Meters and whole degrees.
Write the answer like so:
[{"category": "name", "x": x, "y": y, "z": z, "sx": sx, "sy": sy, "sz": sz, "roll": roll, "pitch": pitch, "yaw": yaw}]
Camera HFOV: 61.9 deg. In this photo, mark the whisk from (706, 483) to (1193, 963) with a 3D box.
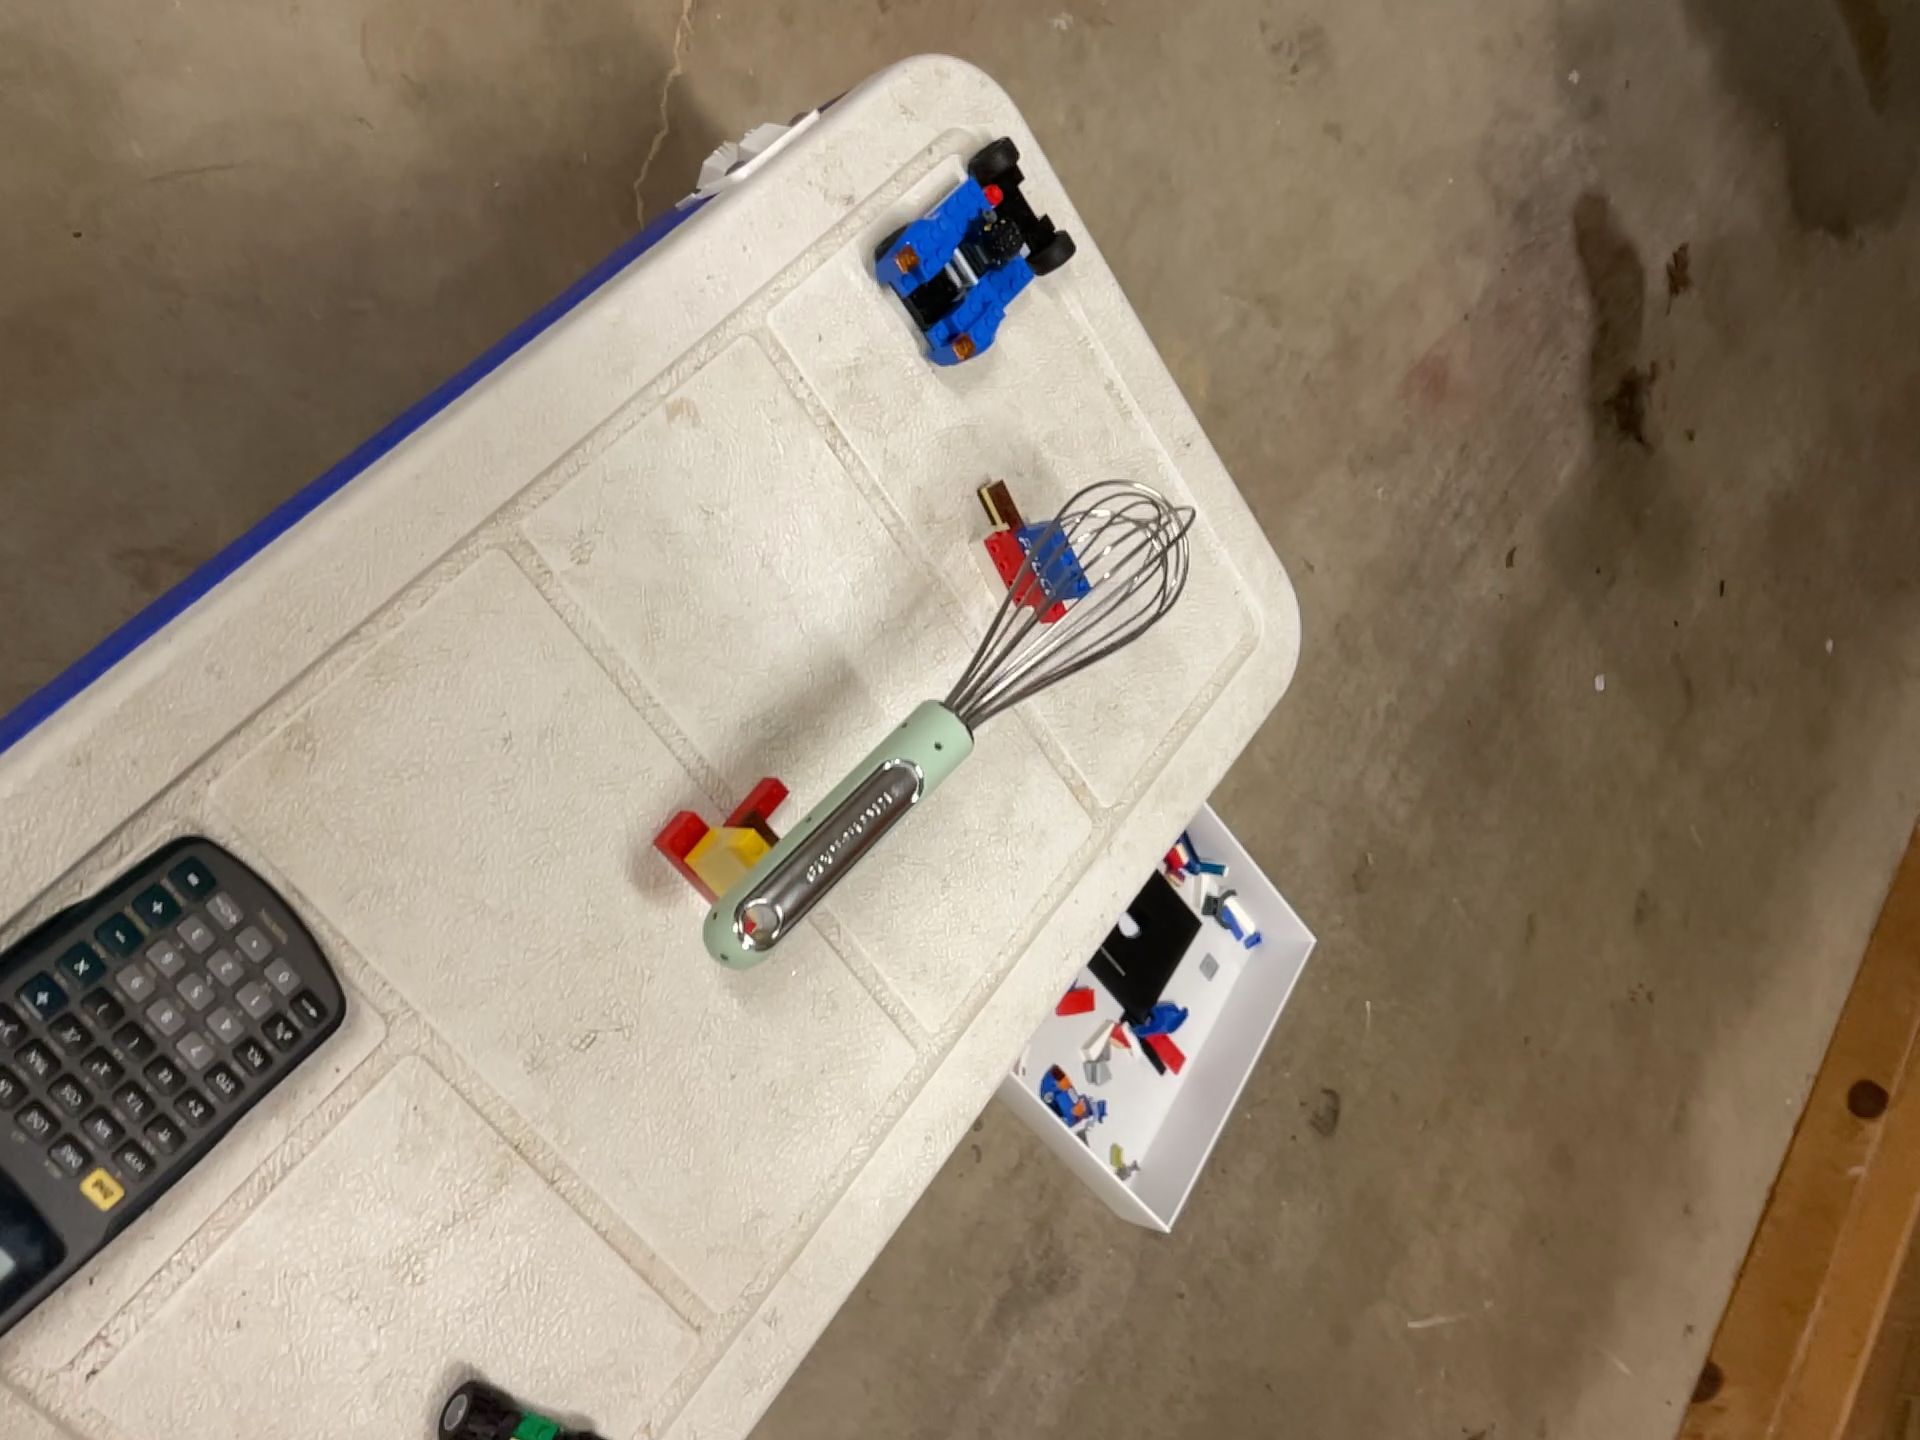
[{"category": "whisk", "x": 0.001, "y": -0.004, "z": 0.573, "sx": 0.246, "sy": 0.059, "sz": 0.057, "roll": -44, "pitch": 107, "yaw": -23}]
